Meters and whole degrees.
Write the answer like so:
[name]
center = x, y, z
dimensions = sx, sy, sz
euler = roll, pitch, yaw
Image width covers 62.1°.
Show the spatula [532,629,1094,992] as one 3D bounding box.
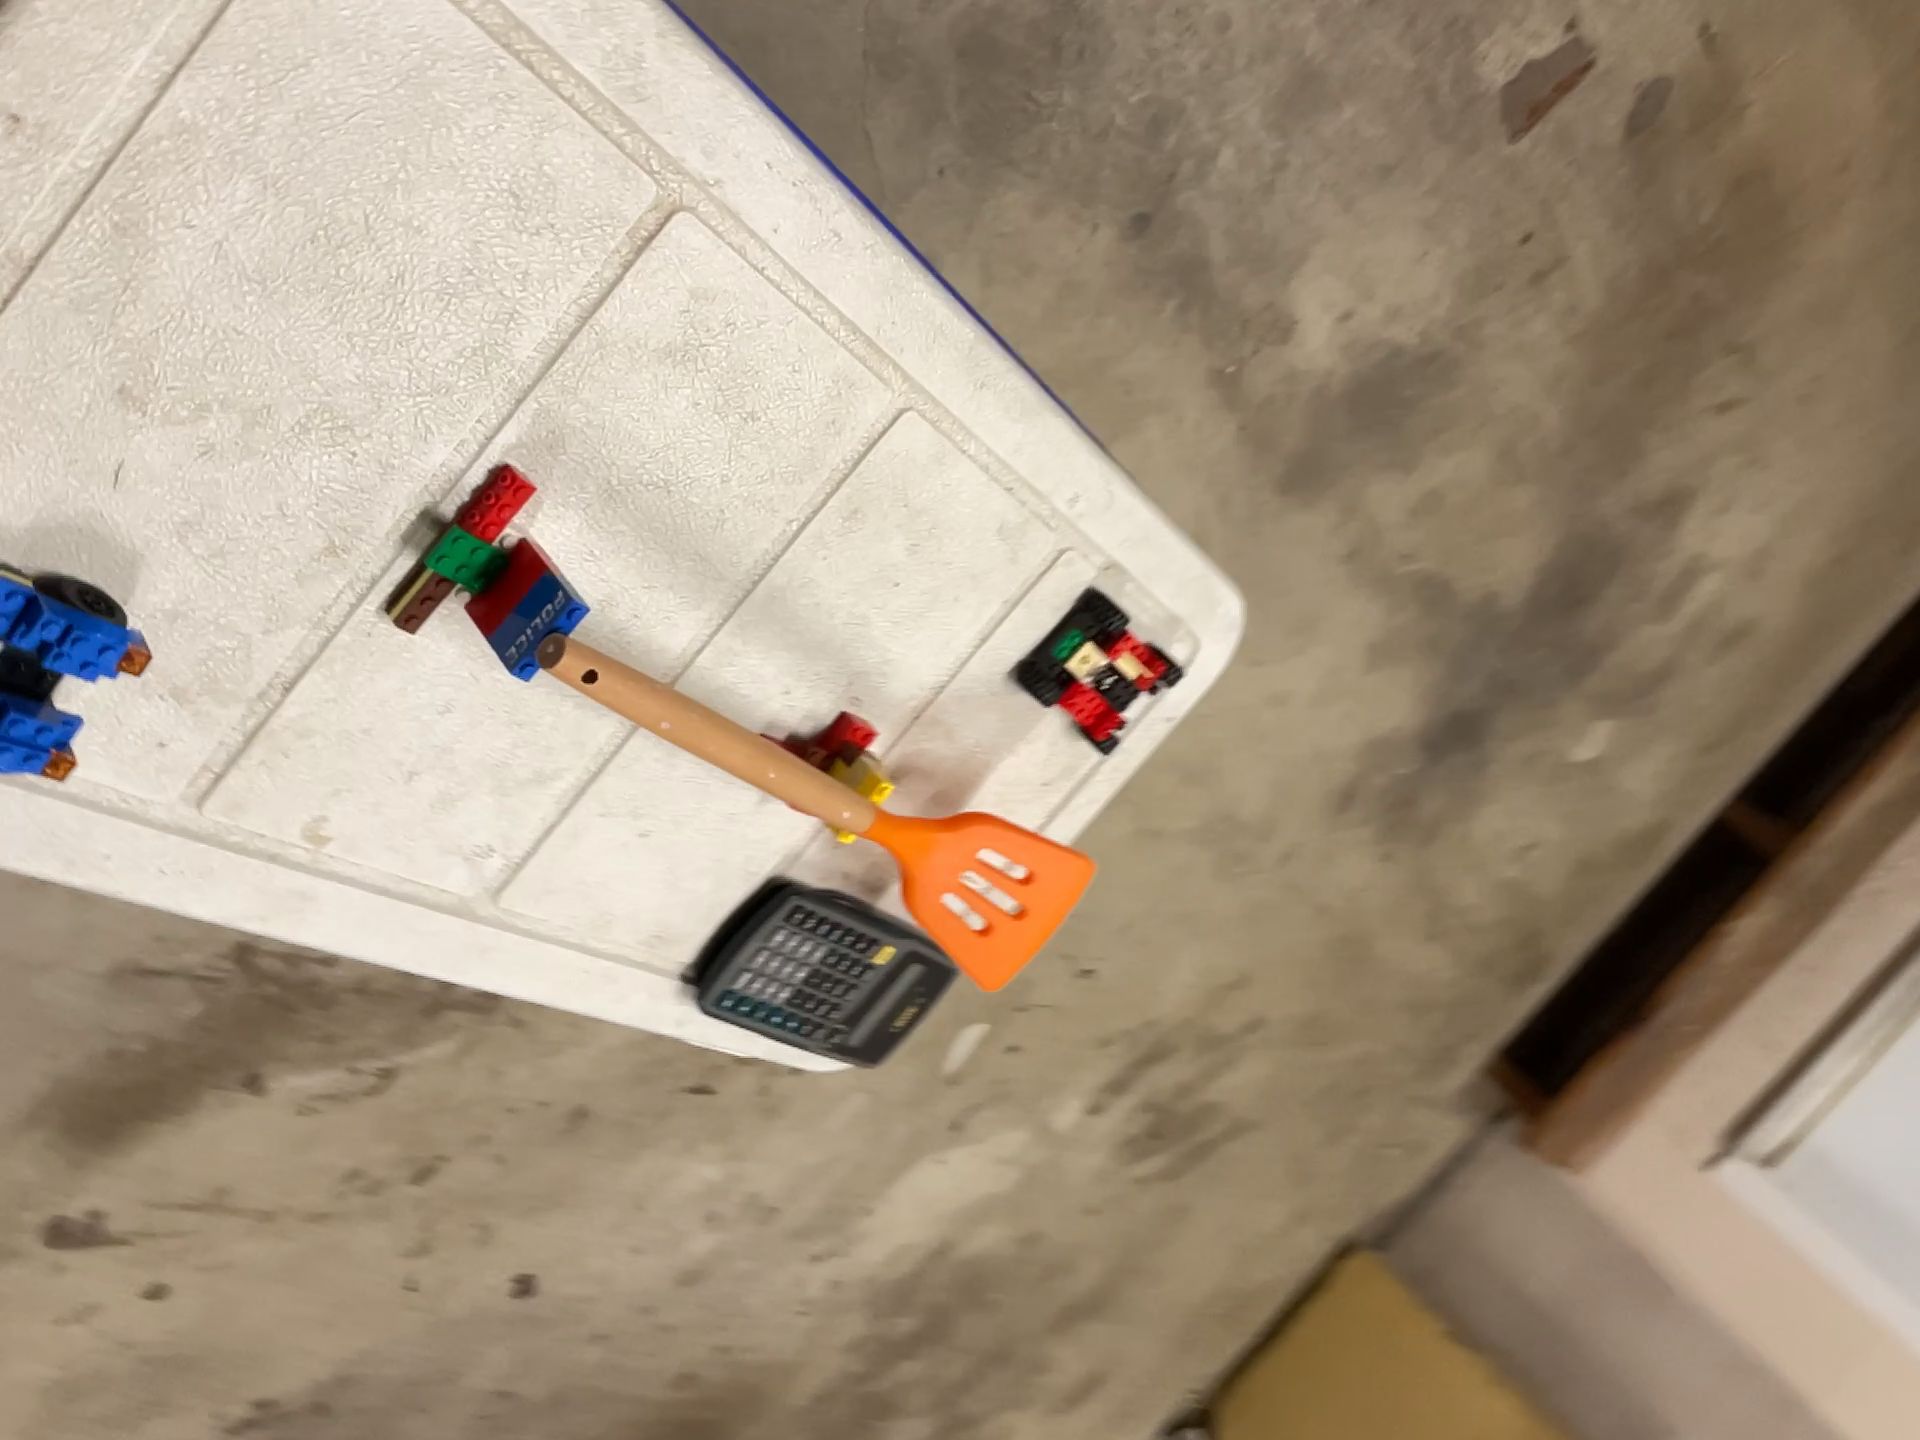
[spatula]
center = -0.048, 0.035, 0.627
dimensions = 0.081, 0.041, 0.322
euler = -51, 144, 3
